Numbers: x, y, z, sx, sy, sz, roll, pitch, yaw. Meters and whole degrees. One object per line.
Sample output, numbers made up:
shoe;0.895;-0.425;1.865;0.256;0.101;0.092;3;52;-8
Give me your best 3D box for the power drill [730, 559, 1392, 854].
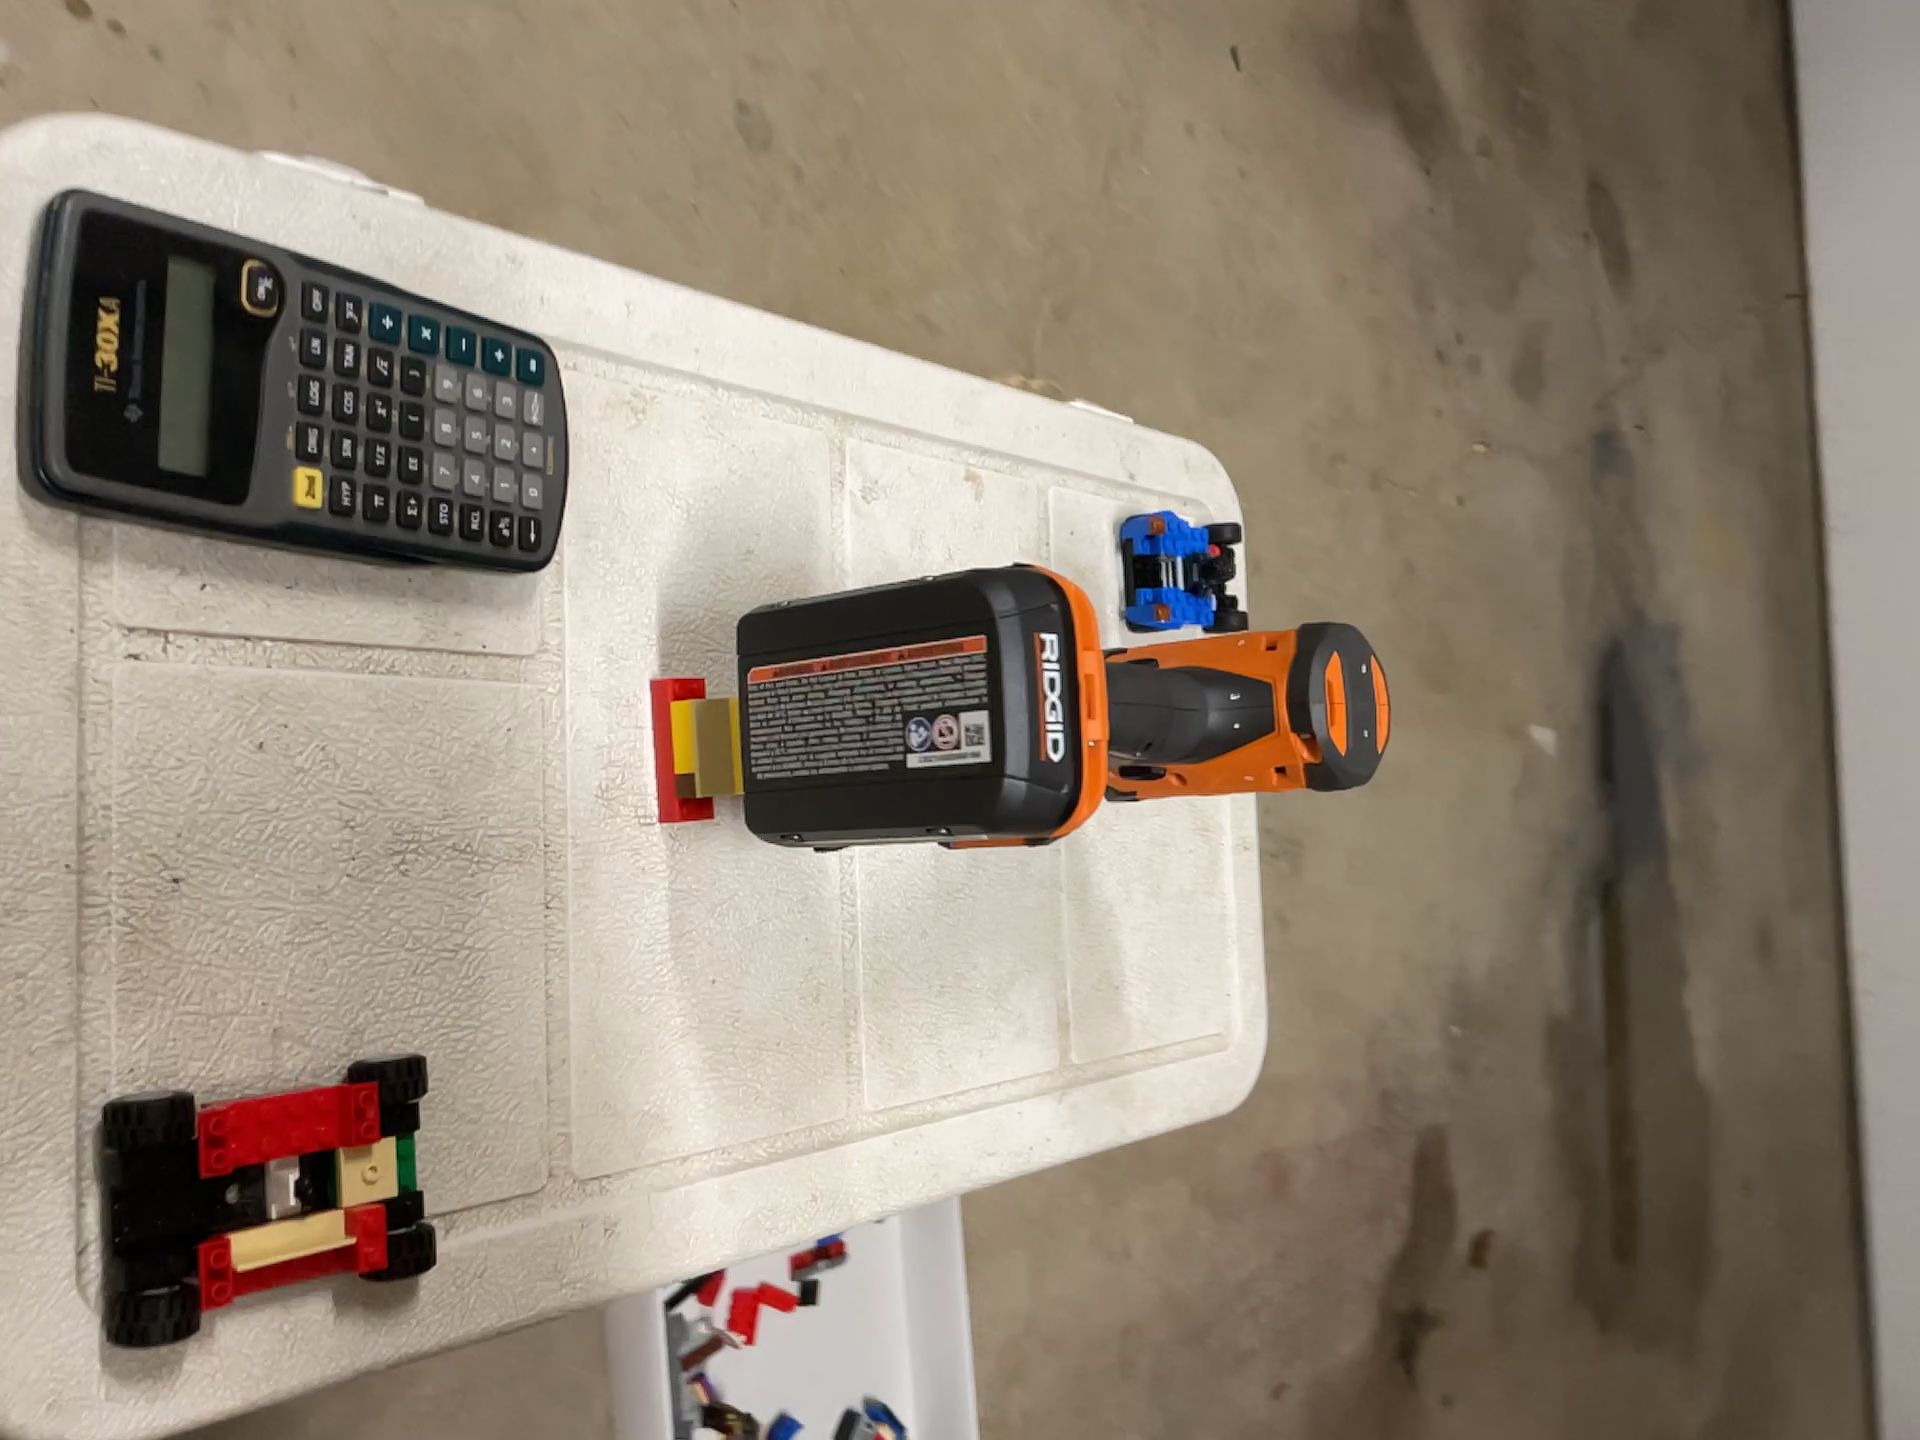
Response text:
power drill;0.028;0.000;0.555;0.226;0.164;0.084;1;84;-50
